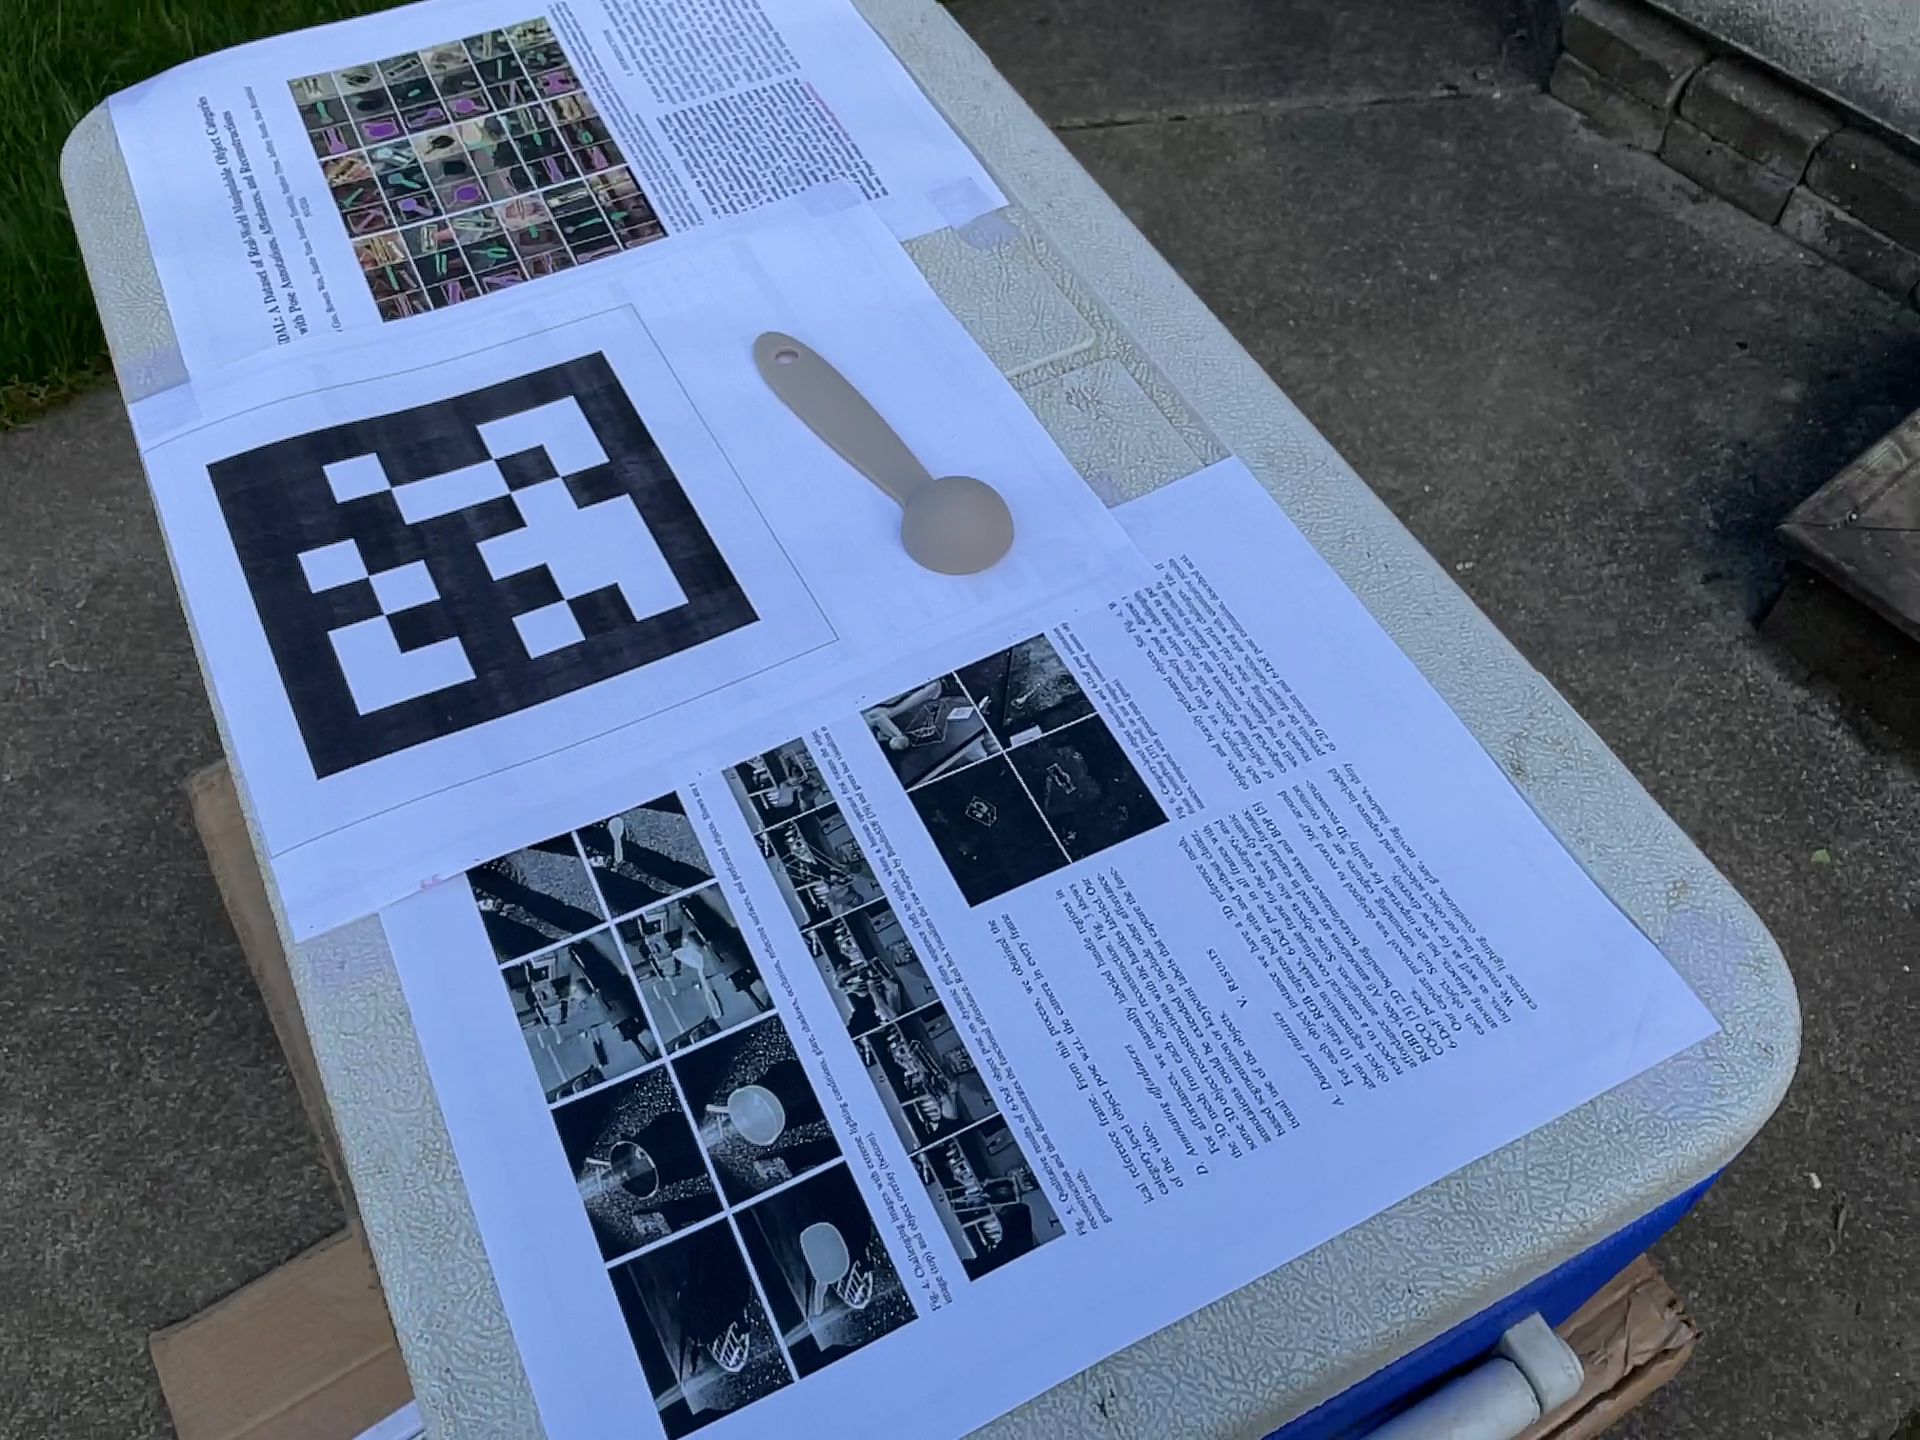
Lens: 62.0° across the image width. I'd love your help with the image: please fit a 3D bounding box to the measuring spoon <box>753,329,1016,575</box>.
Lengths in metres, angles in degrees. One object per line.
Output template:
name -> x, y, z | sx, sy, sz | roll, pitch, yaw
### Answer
measuring spoon -> -0.028, -0.090, 0.491 | 0.034, 0.018, 0.124 | -32, 60, -20
